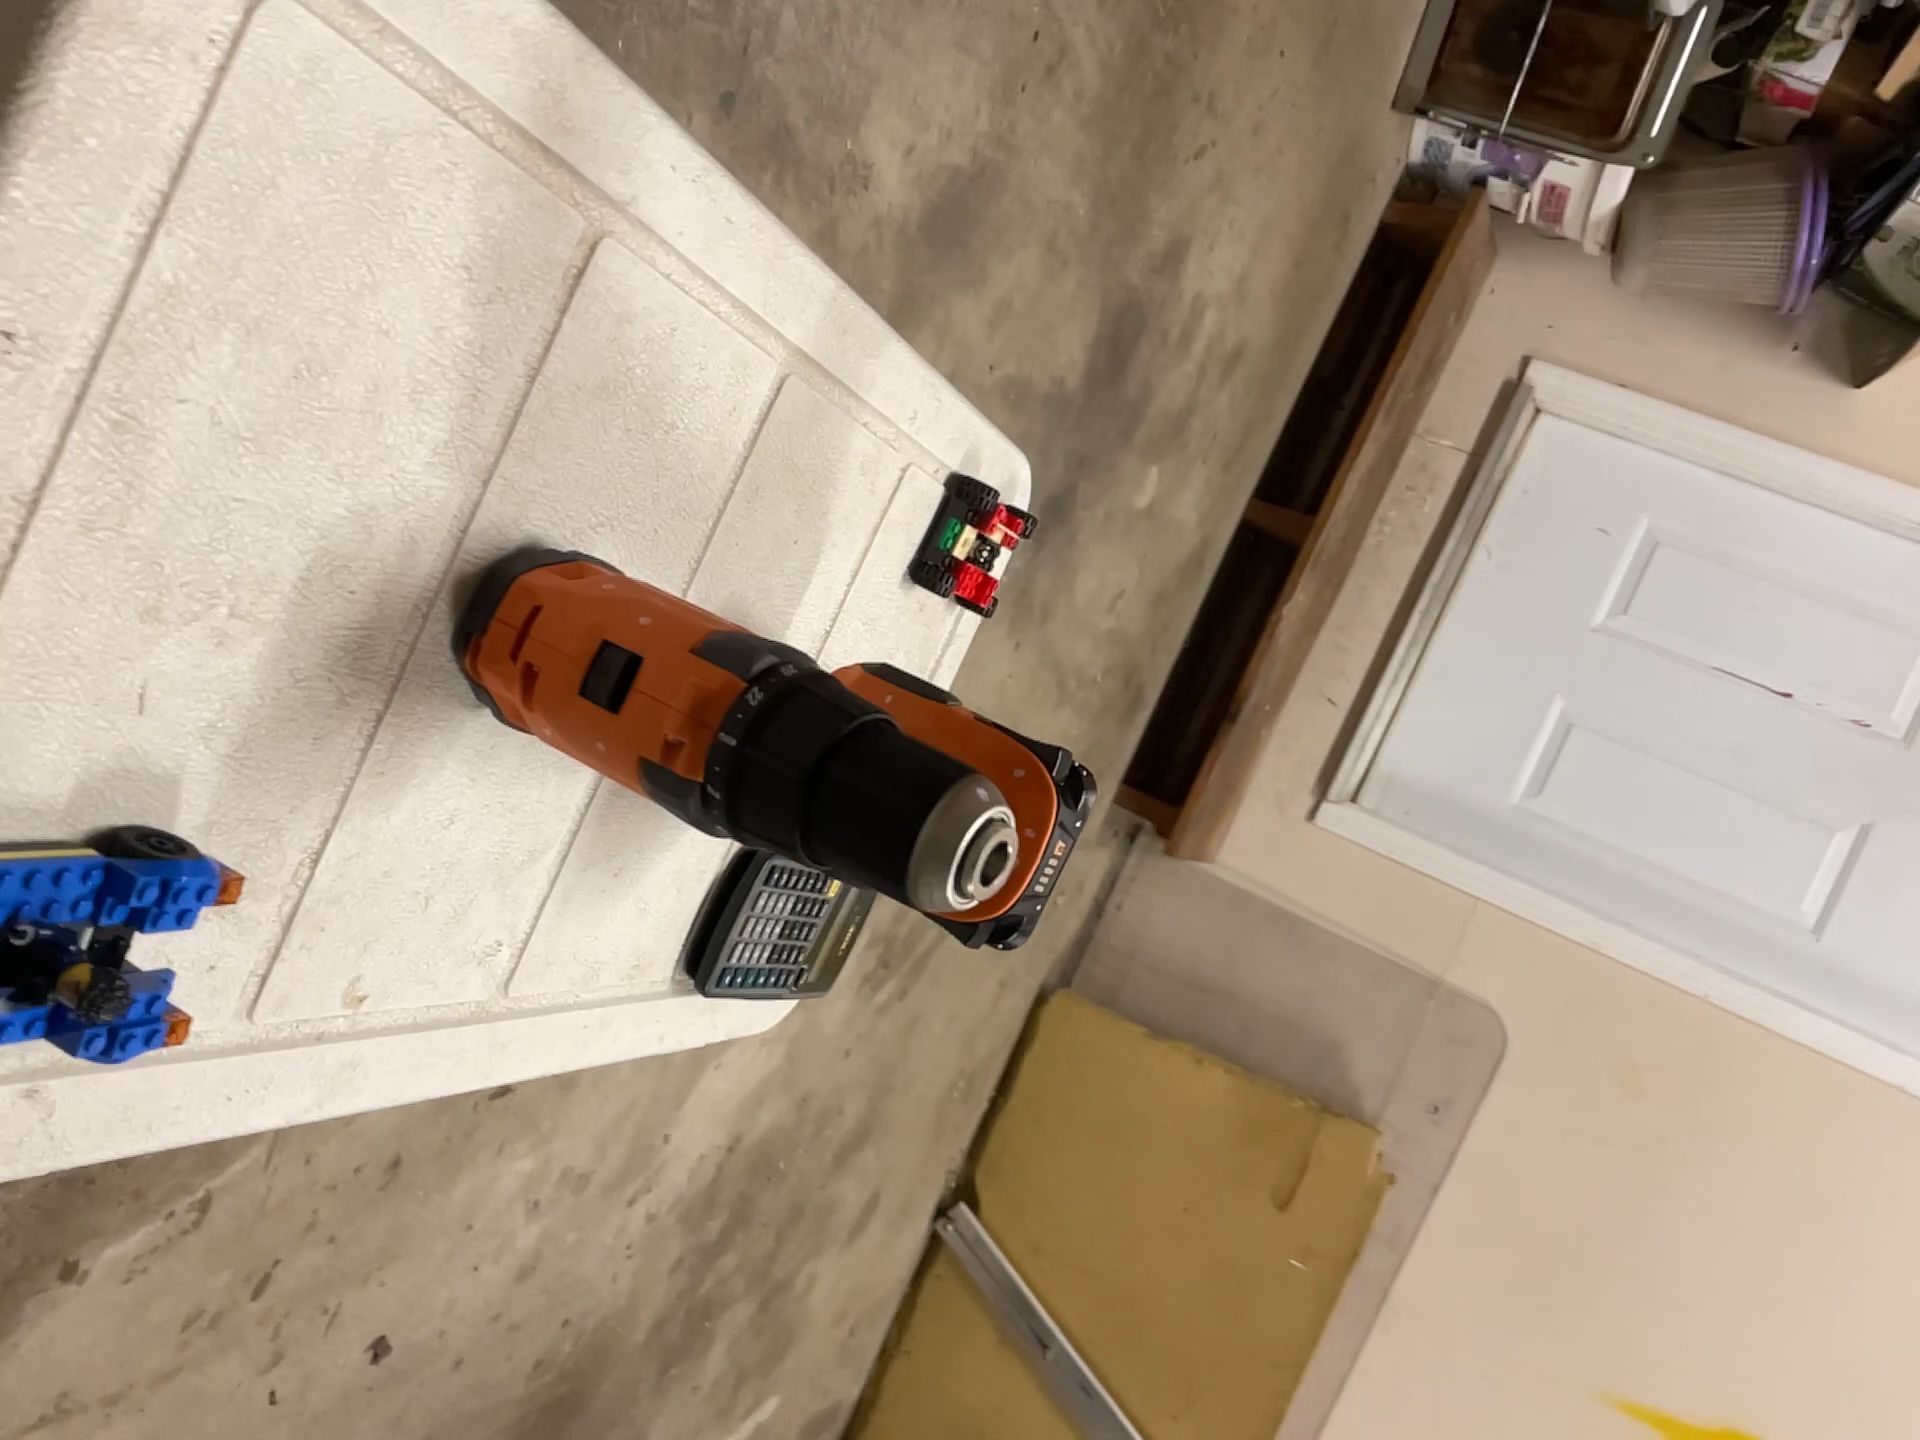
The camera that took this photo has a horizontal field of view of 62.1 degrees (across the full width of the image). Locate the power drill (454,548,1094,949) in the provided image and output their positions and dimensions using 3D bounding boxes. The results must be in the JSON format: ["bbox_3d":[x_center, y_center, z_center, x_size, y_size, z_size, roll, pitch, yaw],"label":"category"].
[{"bbox_3d":[-0.031,0.021,0.535,0.226,0.185,0.084,27,87,-61],"label":"power drill"}]
